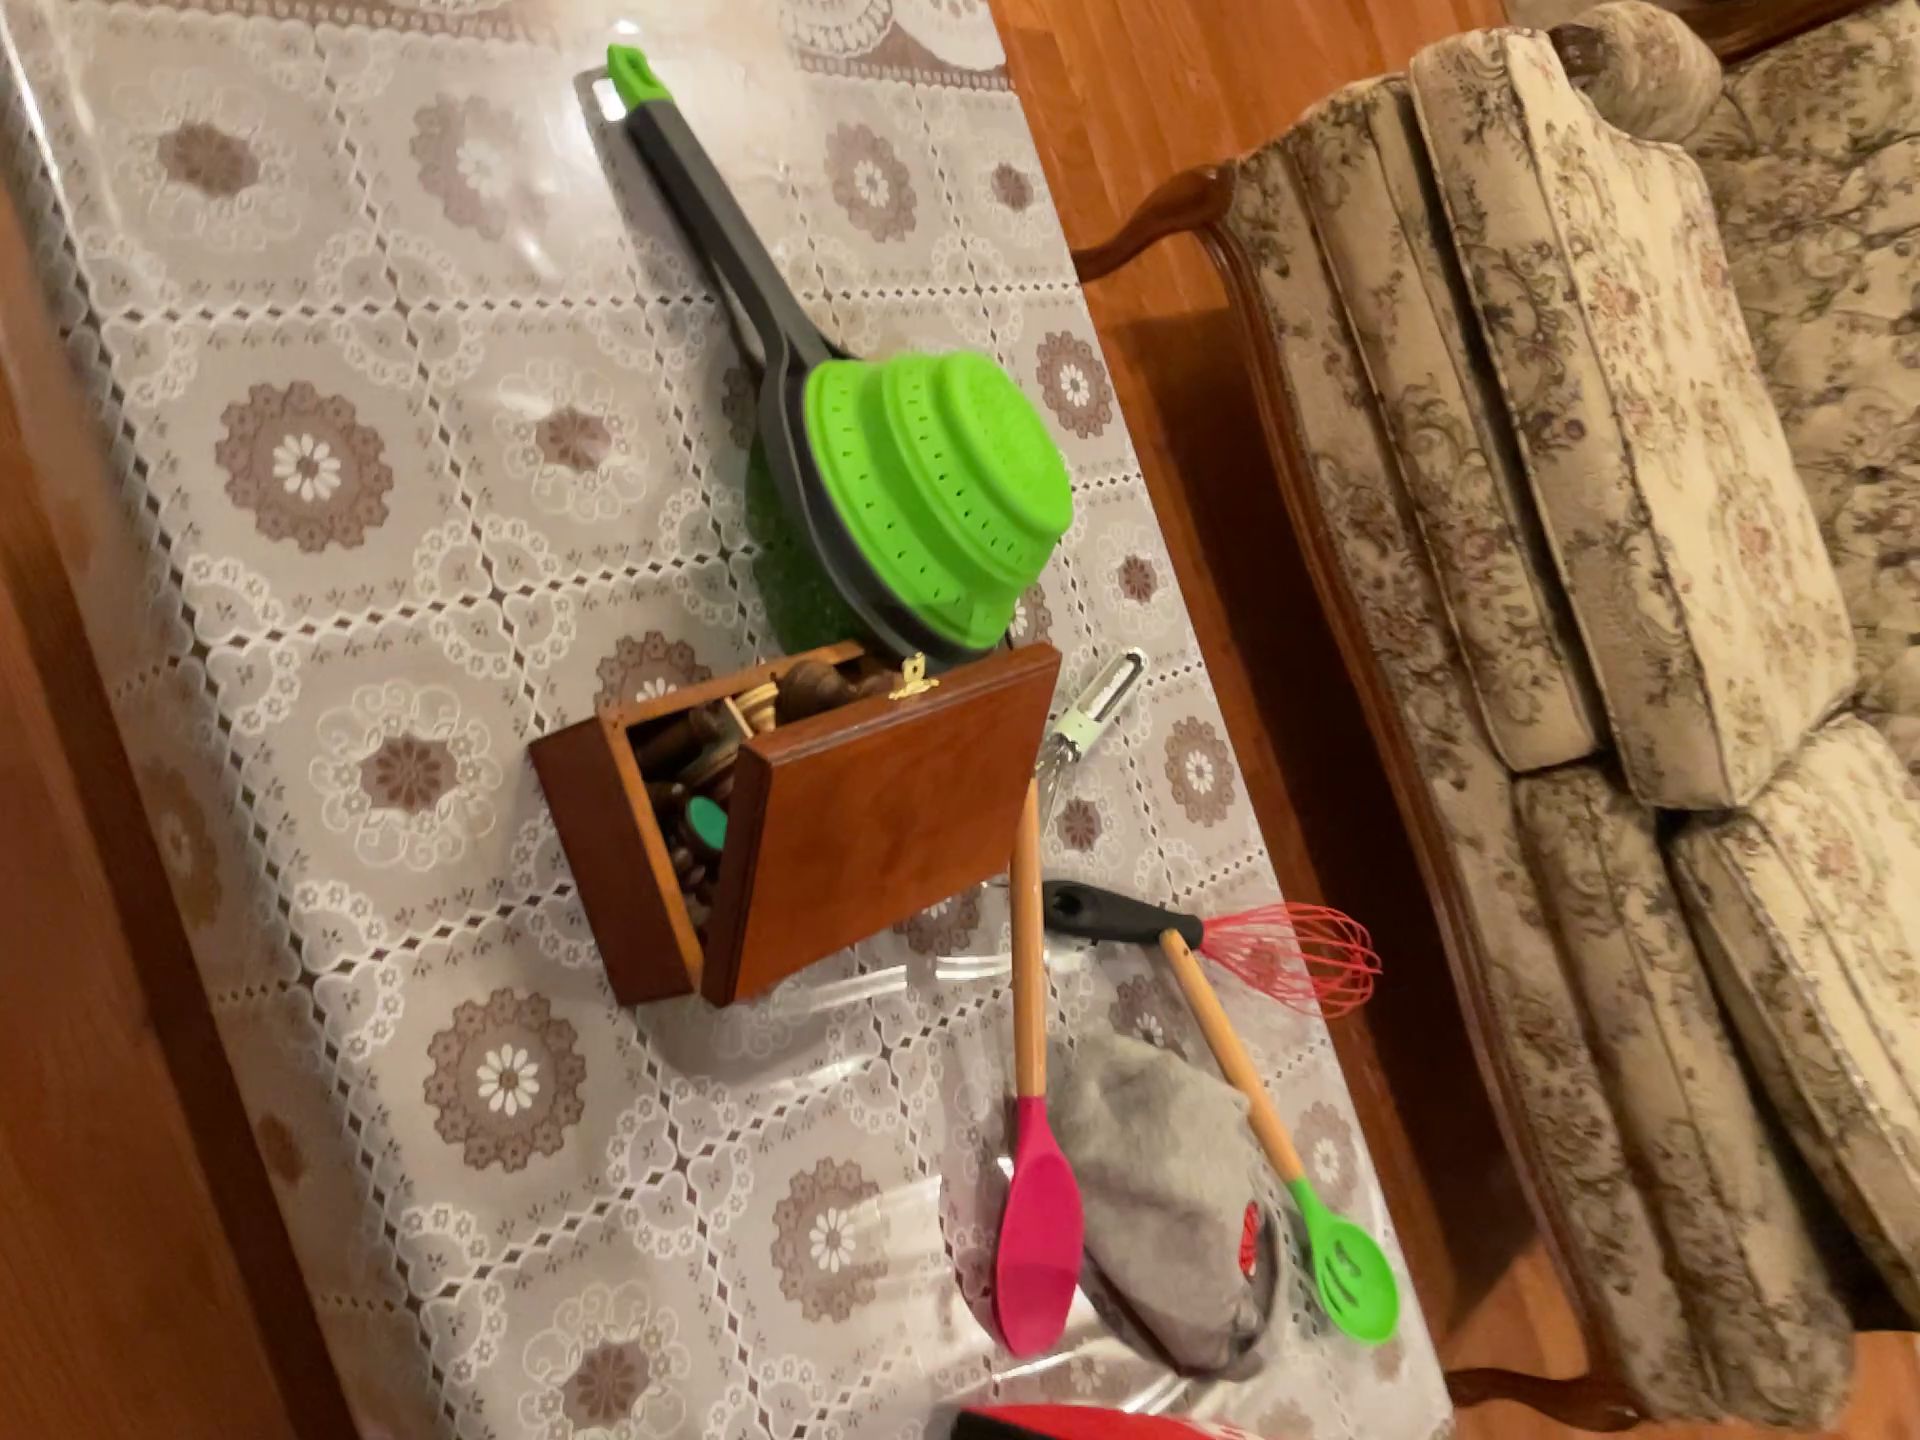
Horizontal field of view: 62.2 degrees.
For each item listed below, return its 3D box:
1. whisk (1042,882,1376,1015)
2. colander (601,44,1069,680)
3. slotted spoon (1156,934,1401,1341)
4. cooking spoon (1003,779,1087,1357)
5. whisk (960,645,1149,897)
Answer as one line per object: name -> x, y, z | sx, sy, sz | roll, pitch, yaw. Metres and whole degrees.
whisk -> 0.157, 0.136, 0.988 | 0.295, 0.073, 0.073 | 15, 73, -34
colander -> -0.050, -0.195, 0.827 | 0.397, 0.094, 0.204 | 59, 25, -4
slotted spoon -> 0.196, 0.260, 0.989 | 0.070, 0.031, 0.313 | -45, 112, -43
cooking spoon -> 0.037, 0.174, 0.842 | 0.068, 0.017, 0.319 | -2, 90, -47
whisk -> 0.053, 0.022, 0.934 | 0.246, 0.059, 0.057 | -47, 152, -45
